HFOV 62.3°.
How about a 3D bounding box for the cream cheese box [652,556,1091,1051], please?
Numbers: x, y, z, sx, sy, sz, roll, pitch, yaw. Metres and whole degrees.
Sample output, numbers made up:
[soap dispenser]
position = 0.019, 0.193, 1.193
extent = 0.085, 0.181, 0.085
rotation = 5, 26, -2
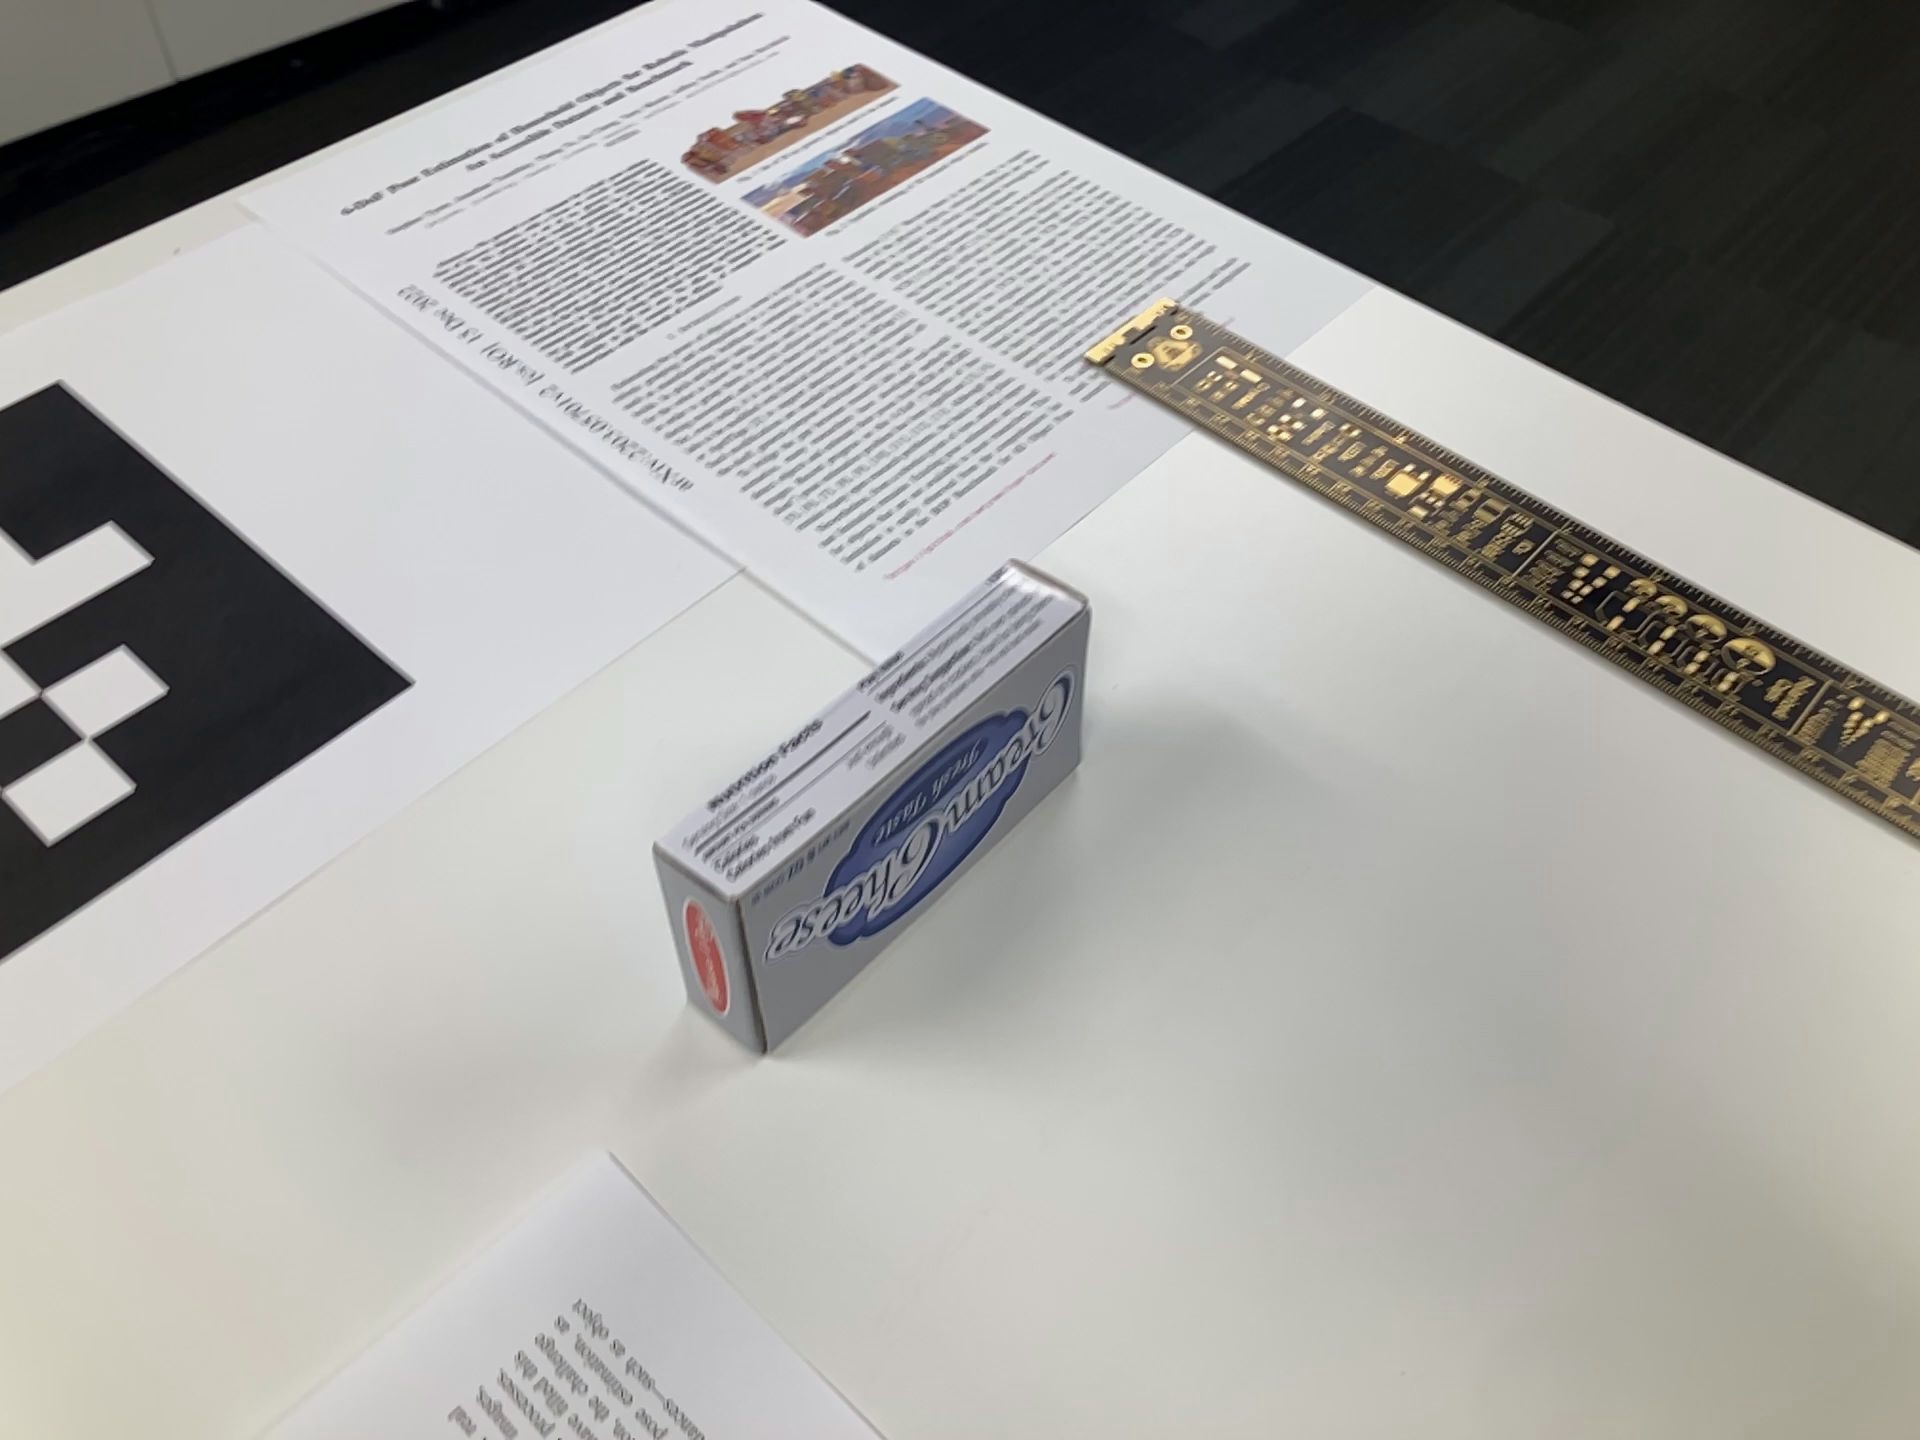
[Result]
[cream cheese box]
position = -0.014, 0.015, 0.326
extent = 0.024, 0.053, 0.104
rotation = 33, 56, 25
